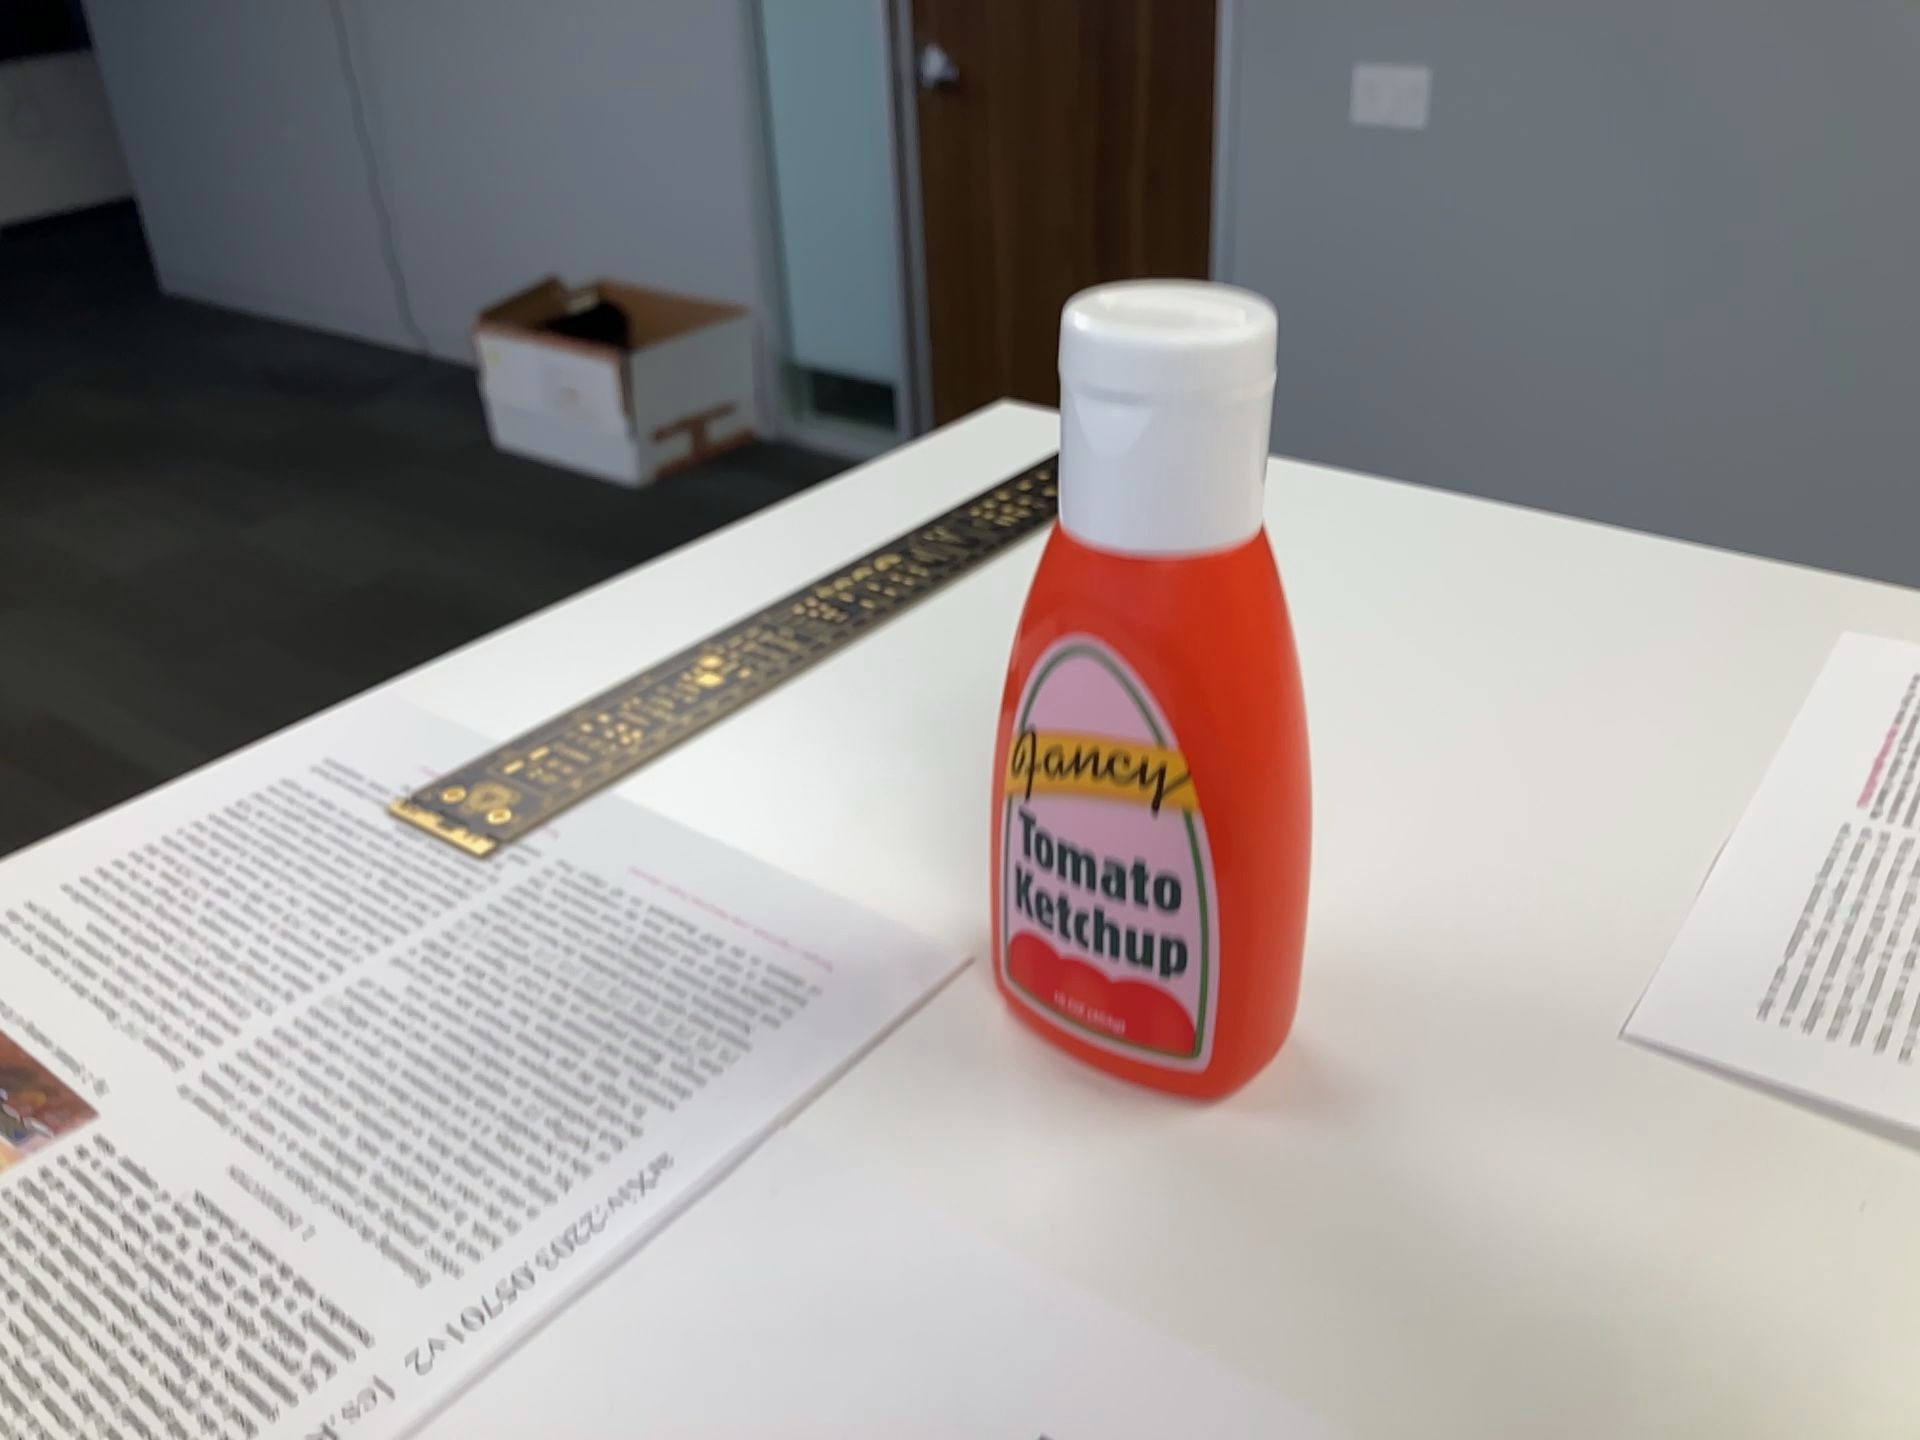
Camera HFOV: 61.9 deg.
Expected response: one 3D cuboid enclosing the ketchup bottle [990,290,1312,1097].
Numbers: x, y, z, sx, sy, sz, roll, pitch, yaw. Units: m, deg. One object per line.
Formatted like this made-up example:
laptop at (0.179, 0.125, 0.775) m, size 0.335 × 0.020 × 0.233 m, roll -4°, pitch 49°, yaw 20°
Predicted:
ketchup bottle at (0.037, -0.003, 0.303) m, size 0.065 × 0.149 × 0.043 m, roll 20°, pitch 34°, yaw 34°
